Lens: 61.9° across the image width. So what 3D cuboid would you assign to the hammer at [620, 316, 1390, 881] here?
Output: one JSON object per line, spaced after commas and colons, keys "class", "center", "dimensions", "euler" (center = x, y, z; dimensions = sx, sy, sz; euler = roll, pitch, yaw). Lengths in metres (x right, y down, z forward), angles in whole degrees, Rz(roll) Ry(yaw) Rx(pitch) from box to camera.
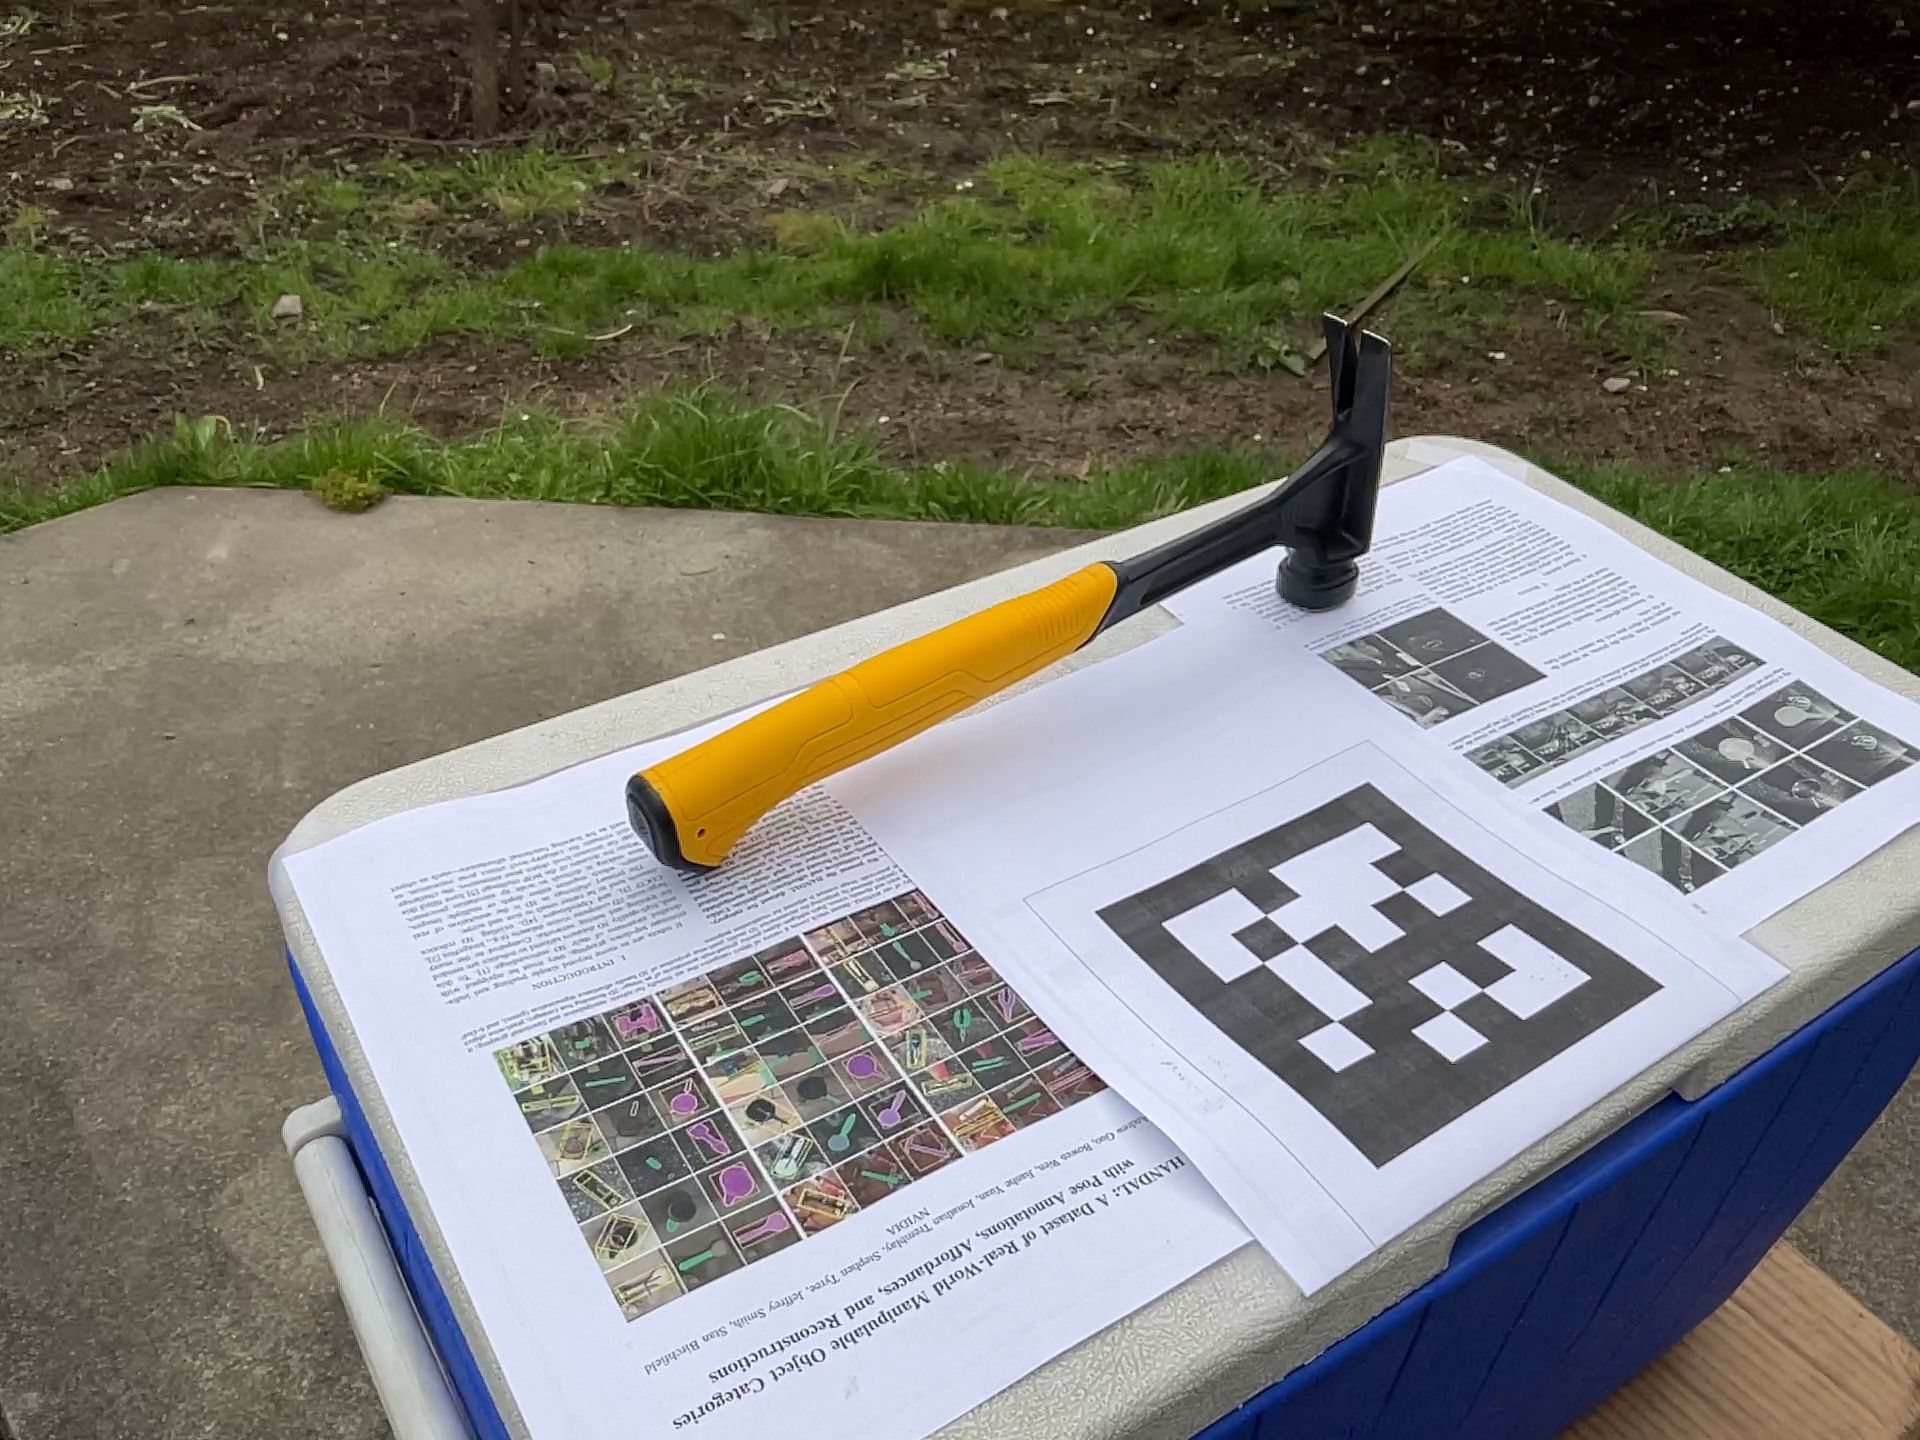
{"class": "hammer", "center": [0.029, -0.038, 0.588], "dimensions": [0.336, 0.127, 0.034], "euler": [-27, 47, -25]}
